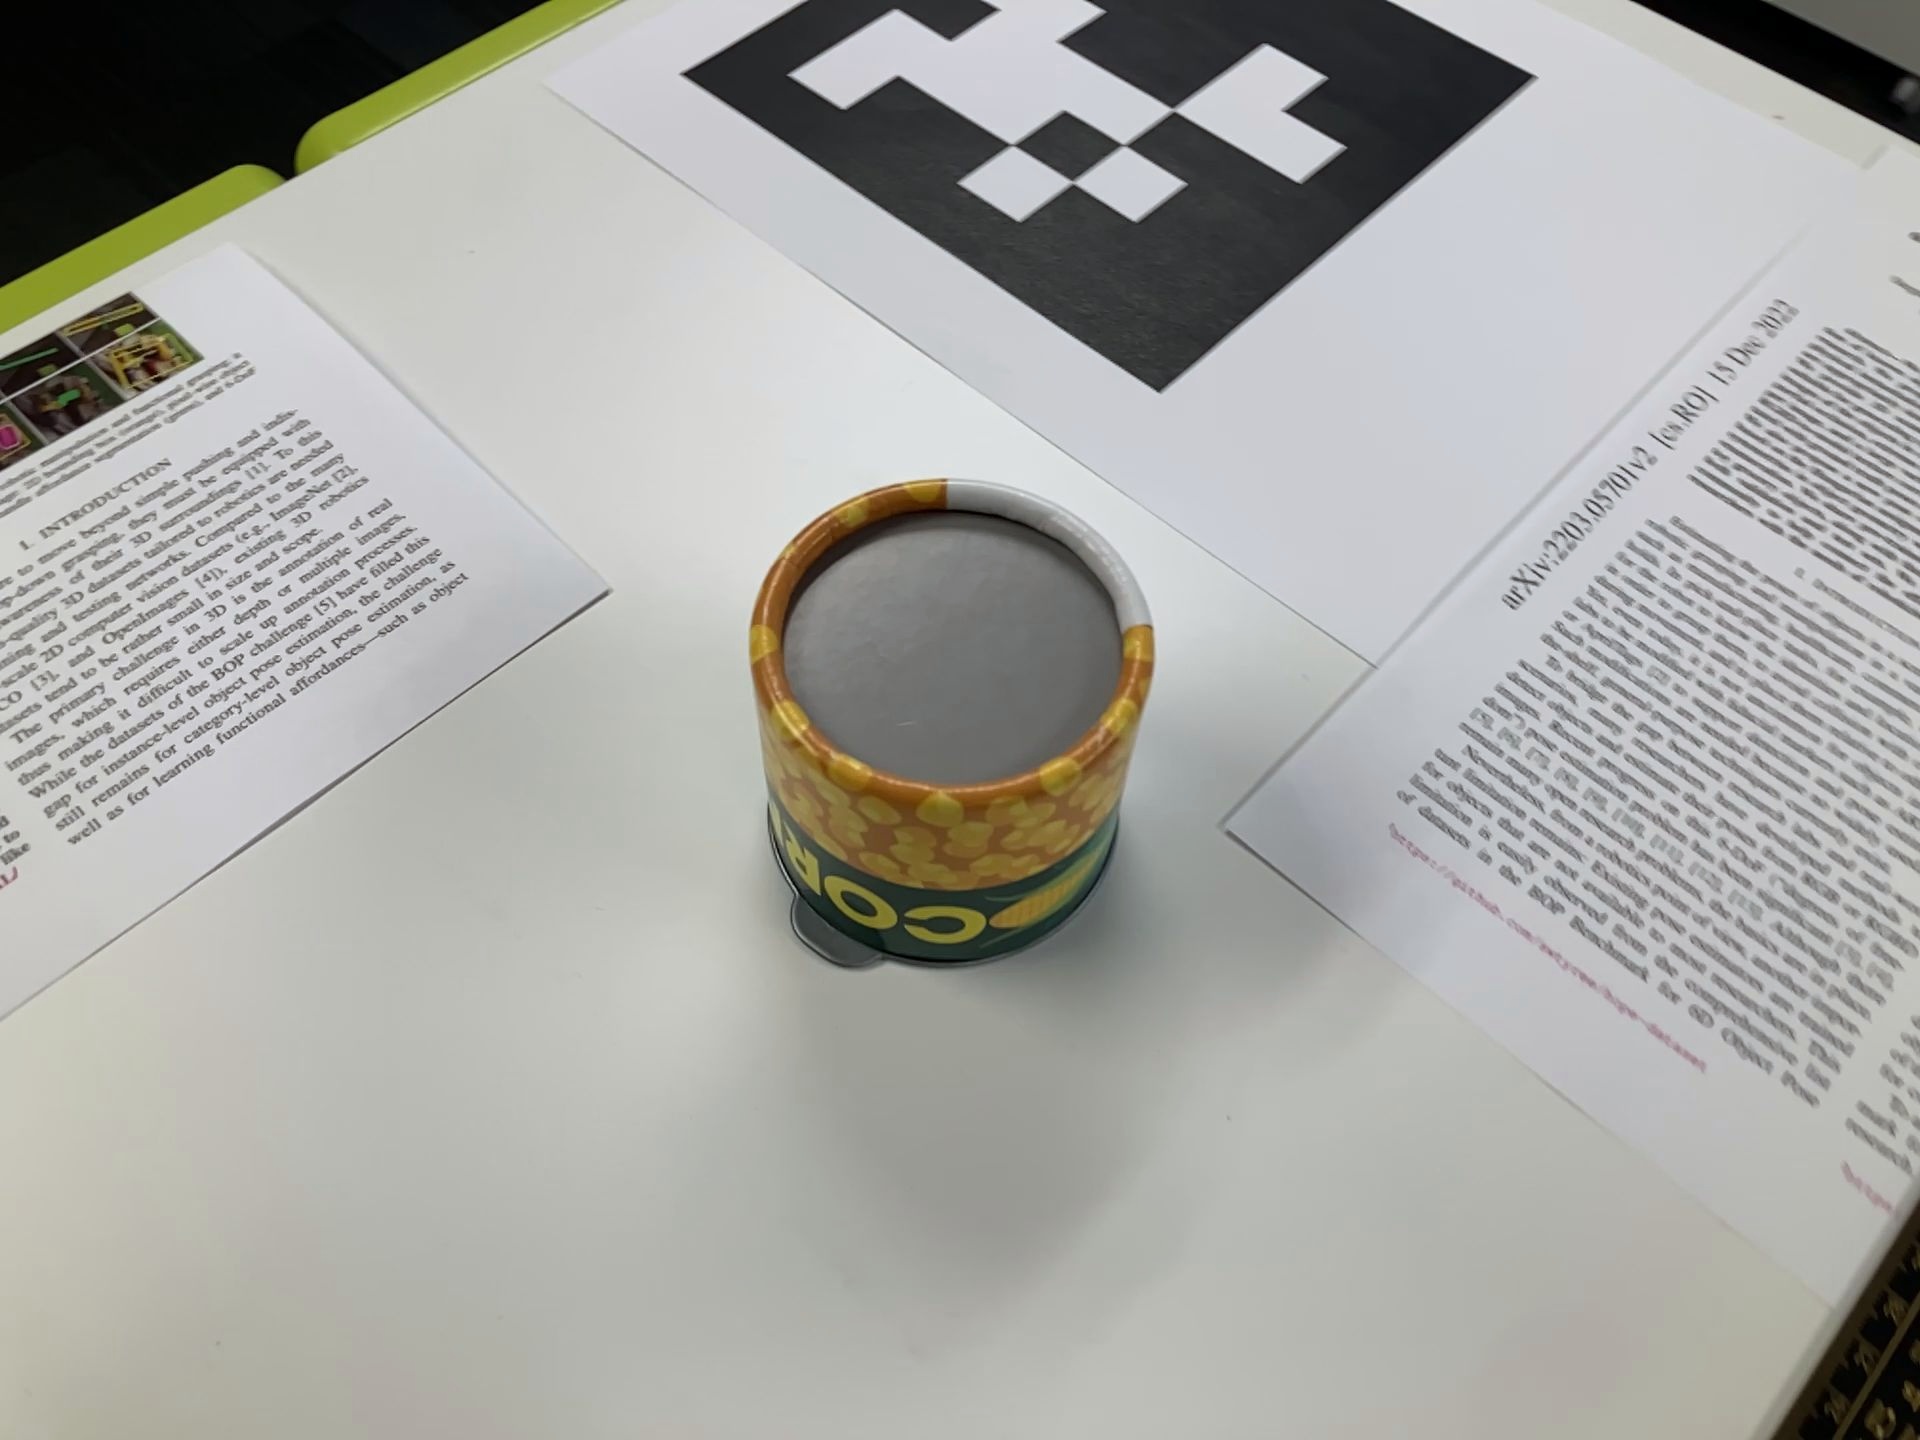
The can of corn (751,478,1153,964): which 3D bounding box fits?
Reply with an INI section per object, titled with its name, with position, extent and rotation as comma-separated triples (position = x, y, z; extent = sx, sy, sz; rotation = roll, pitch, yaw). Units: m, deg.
[can of corn]
position = -0.004, 0.002, 0.277
extent = 0.071, 0.058, 0.071
rotation = 1, 58, -2
